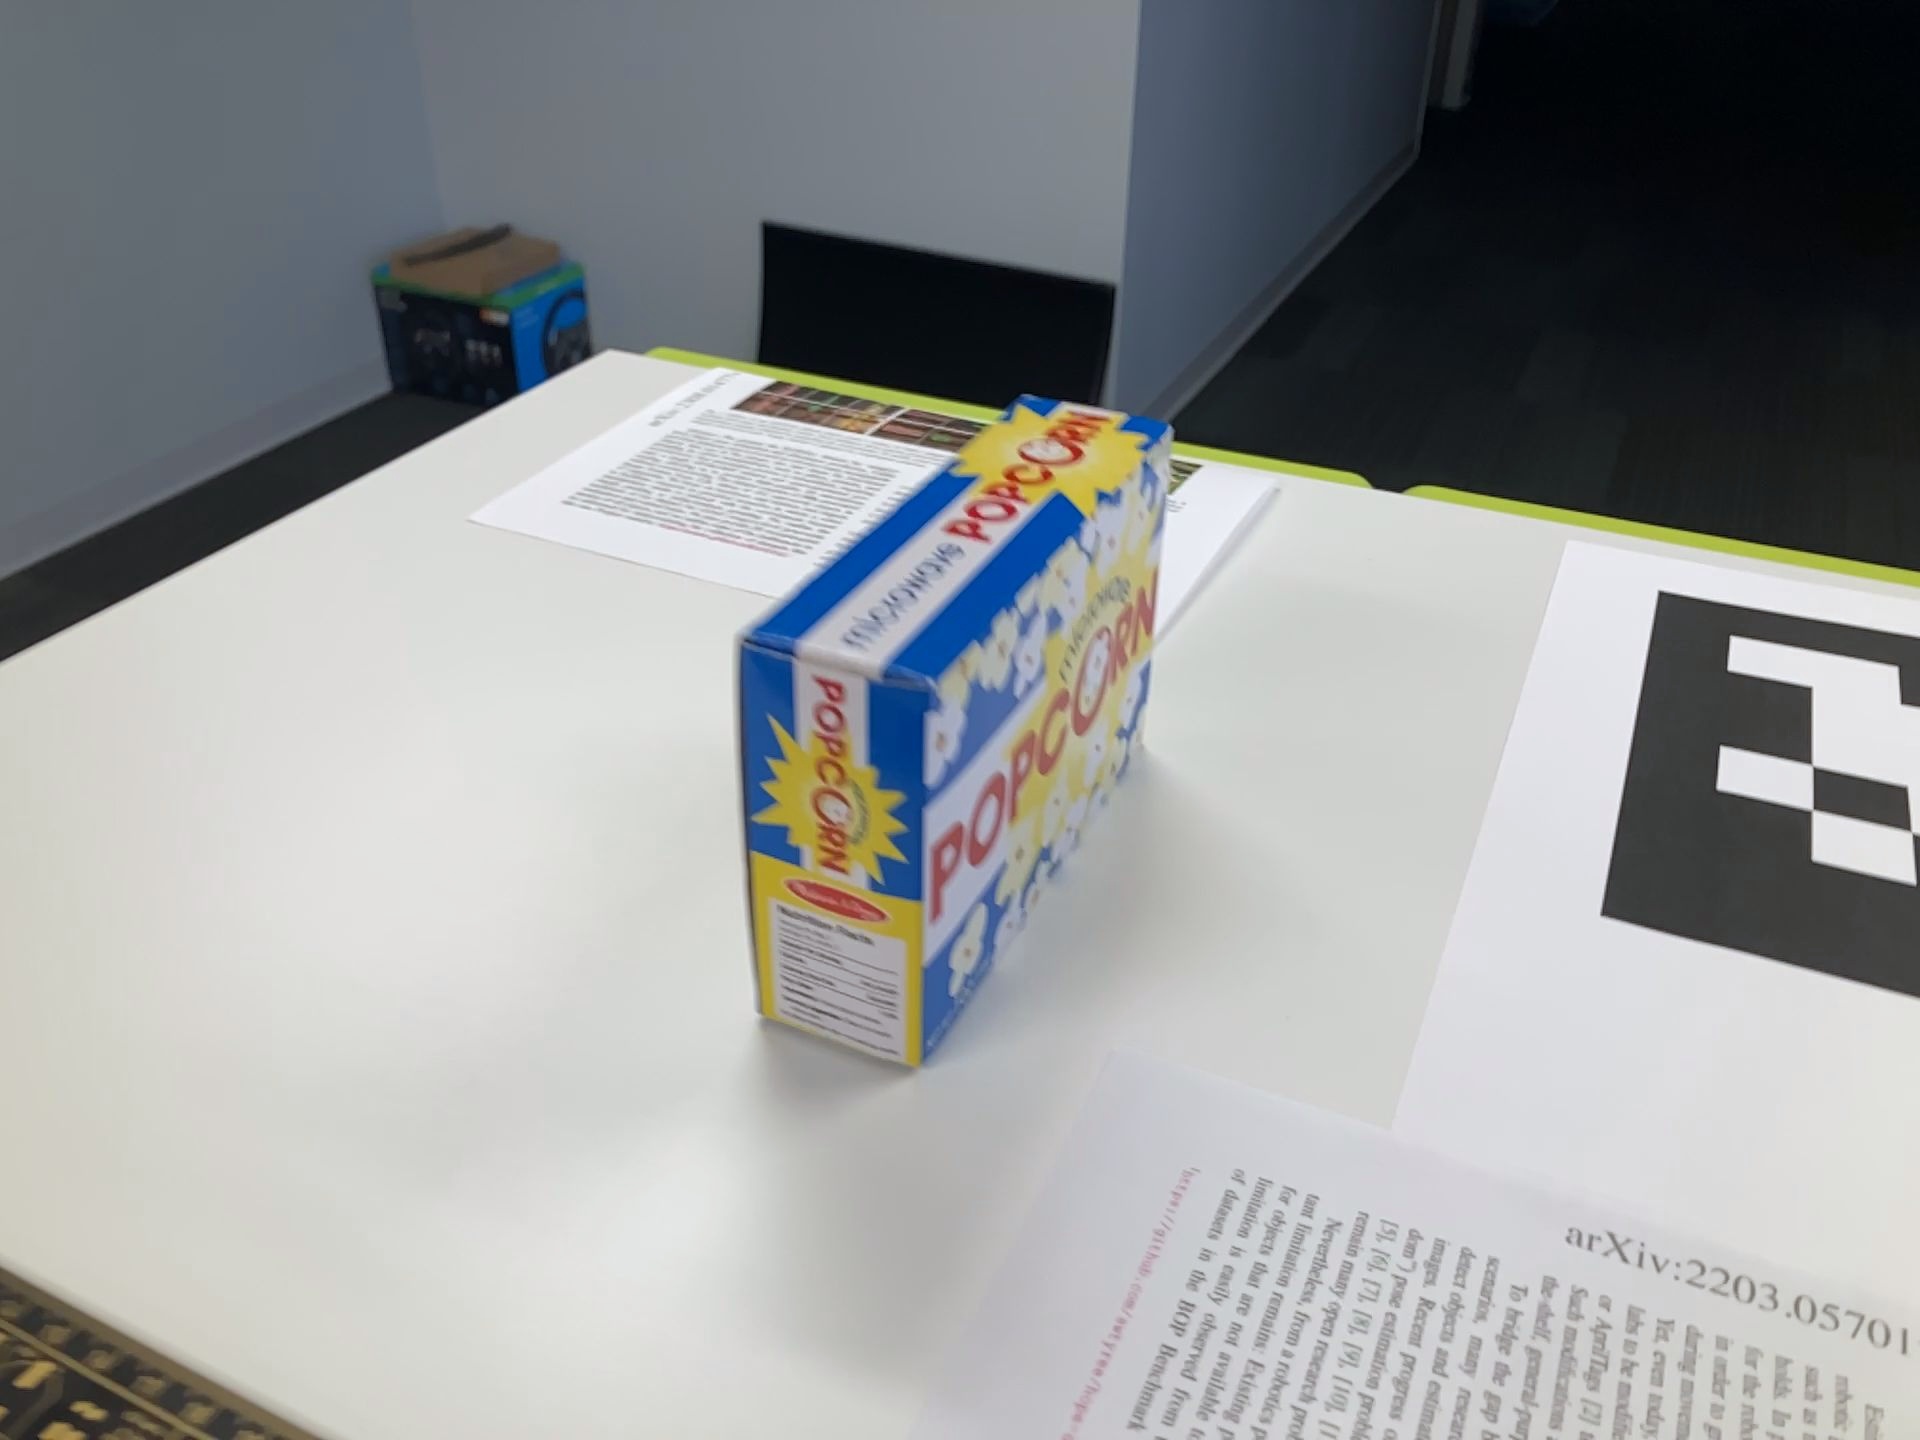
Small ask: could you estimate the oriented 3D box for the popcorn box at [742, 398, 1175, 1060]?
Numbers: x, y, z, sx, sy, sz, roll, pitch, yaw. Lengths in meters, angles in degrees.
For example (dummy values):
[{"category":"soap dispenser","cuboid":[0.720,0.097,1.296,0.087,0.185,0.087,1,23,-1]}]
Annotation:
[{"category":"popcorn box","cuboid":[0.004,-0.004,0.327,0.038,0.085,0.126,14,34,21]}]
